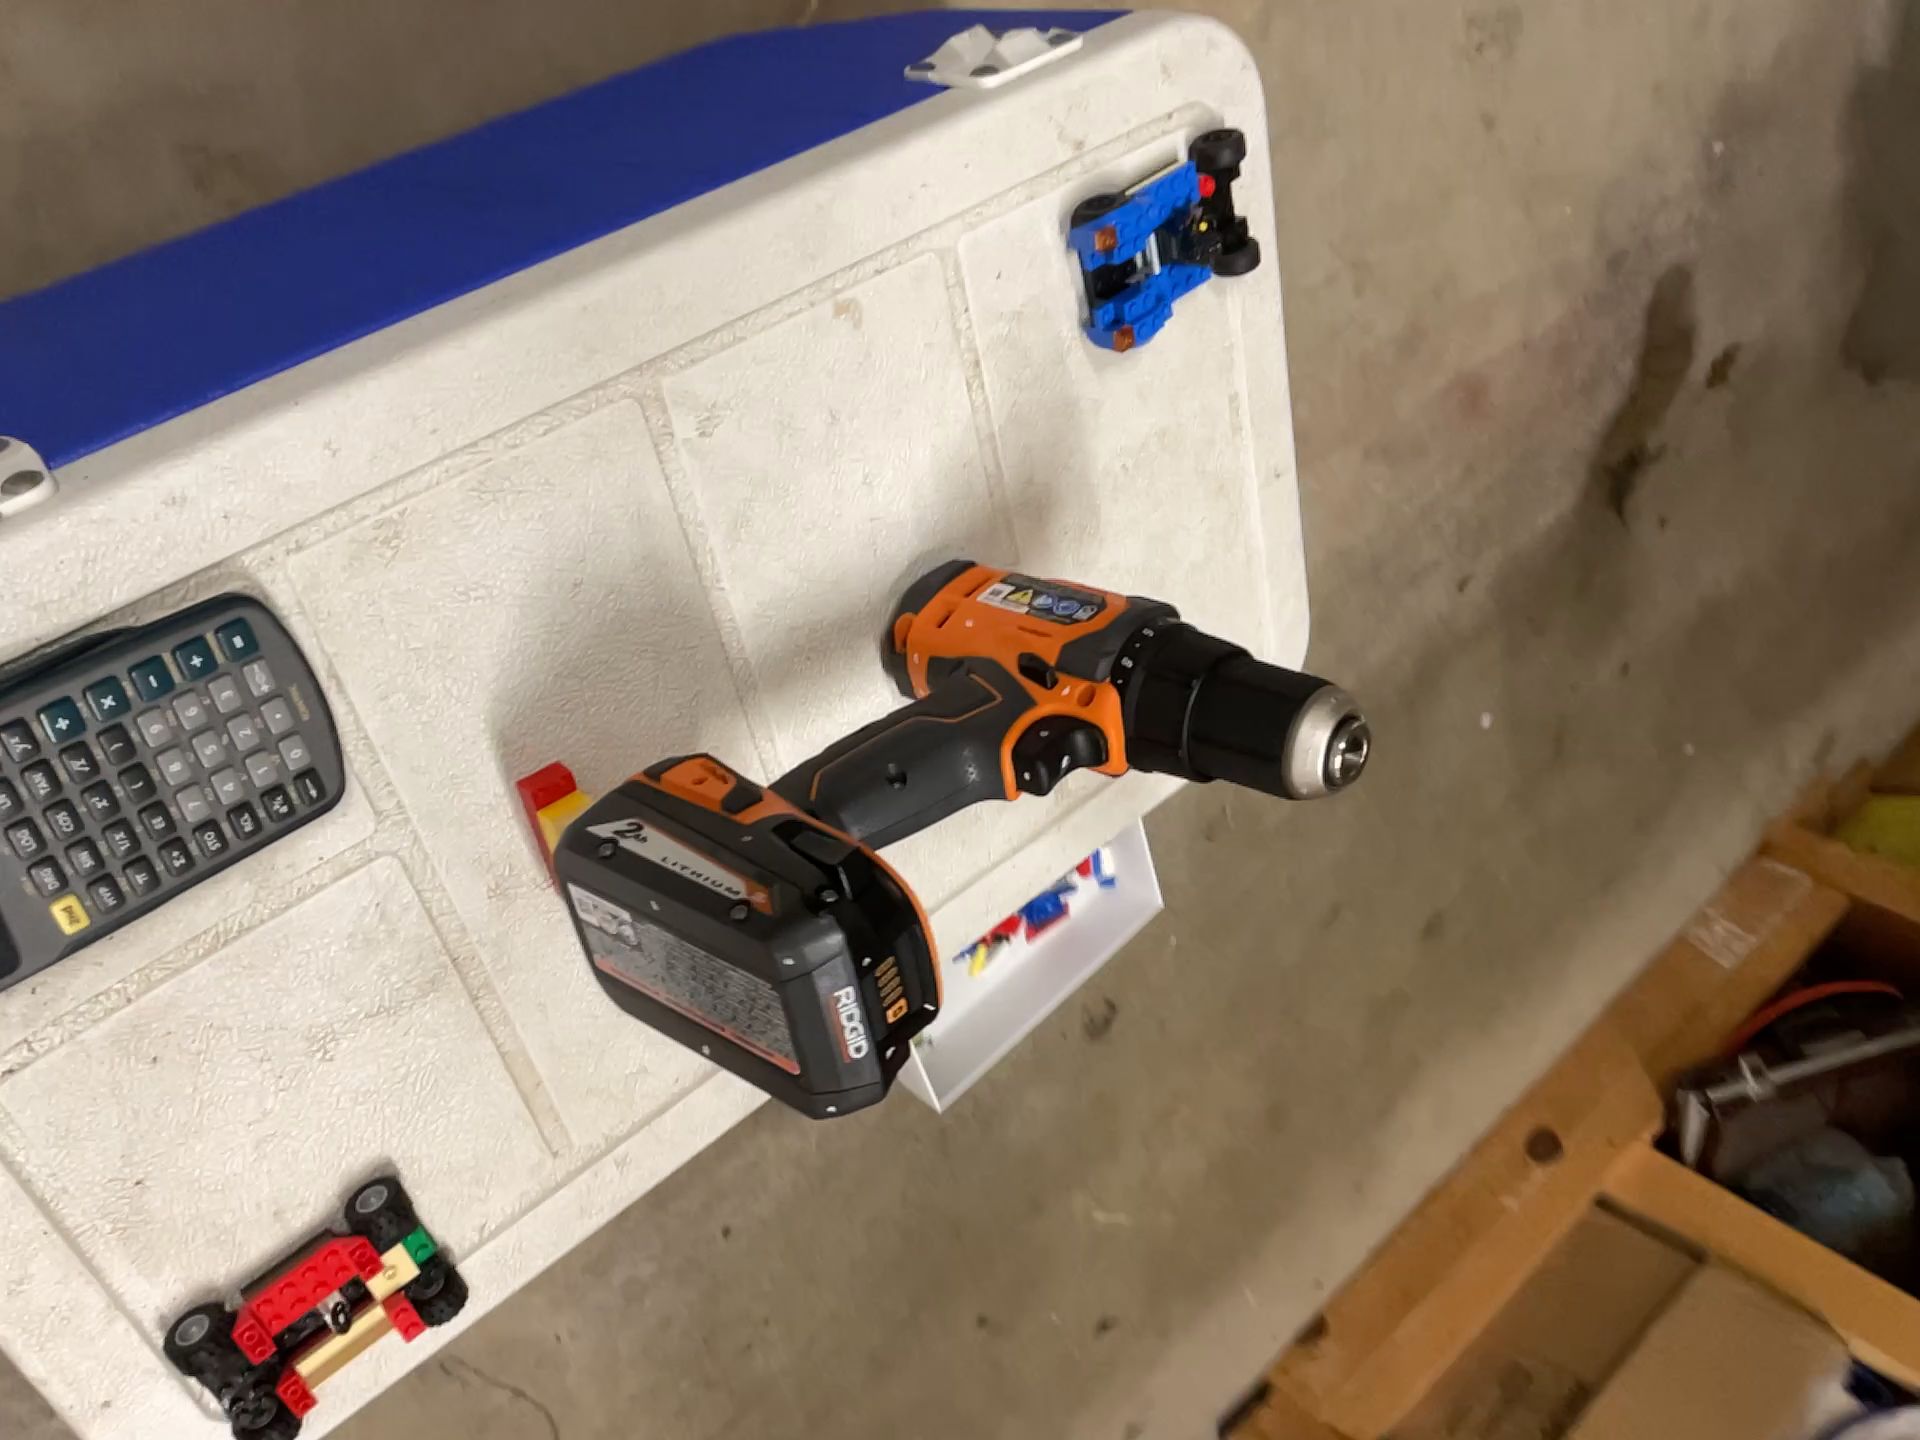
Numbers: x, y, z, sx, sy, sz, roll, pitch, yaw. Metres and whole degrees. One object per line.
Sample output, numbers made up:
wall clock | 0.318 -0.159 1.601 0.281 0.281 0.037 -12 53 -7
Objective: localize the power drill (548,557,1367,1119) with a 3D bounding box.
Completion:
power drill | 0.006 0.027 0.524 0.226 0.185 0.084 -38 132 -37
